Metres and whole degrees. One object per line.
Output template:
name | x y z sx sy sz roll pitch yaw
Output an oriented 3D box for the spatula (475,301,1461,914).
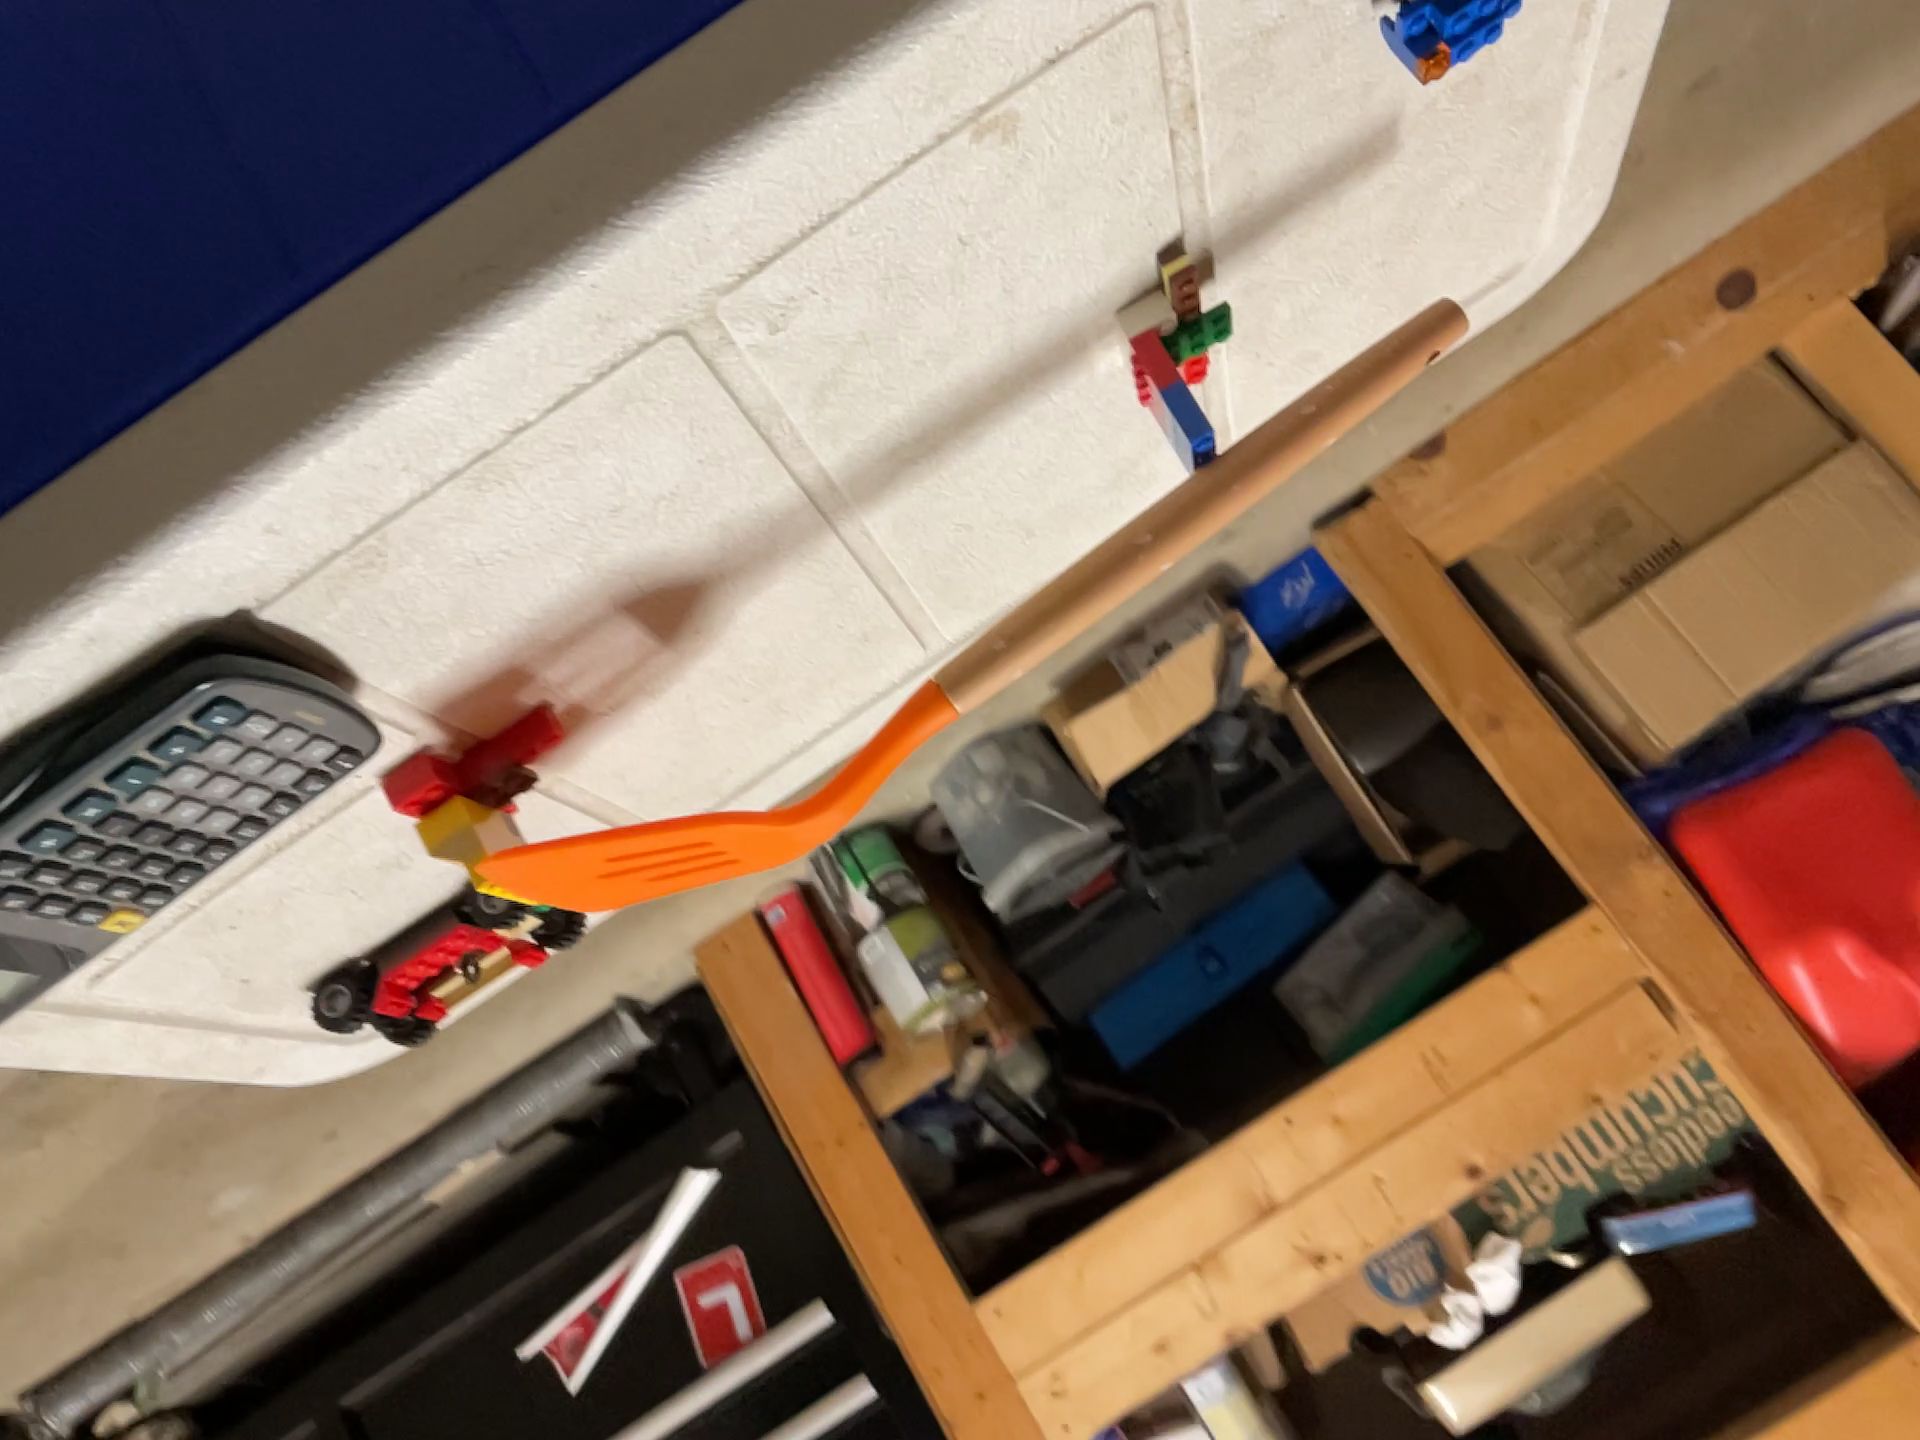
spatula | 0.009 -0.029 0.470 0.322 0.041 0.081 -37 160 -1
